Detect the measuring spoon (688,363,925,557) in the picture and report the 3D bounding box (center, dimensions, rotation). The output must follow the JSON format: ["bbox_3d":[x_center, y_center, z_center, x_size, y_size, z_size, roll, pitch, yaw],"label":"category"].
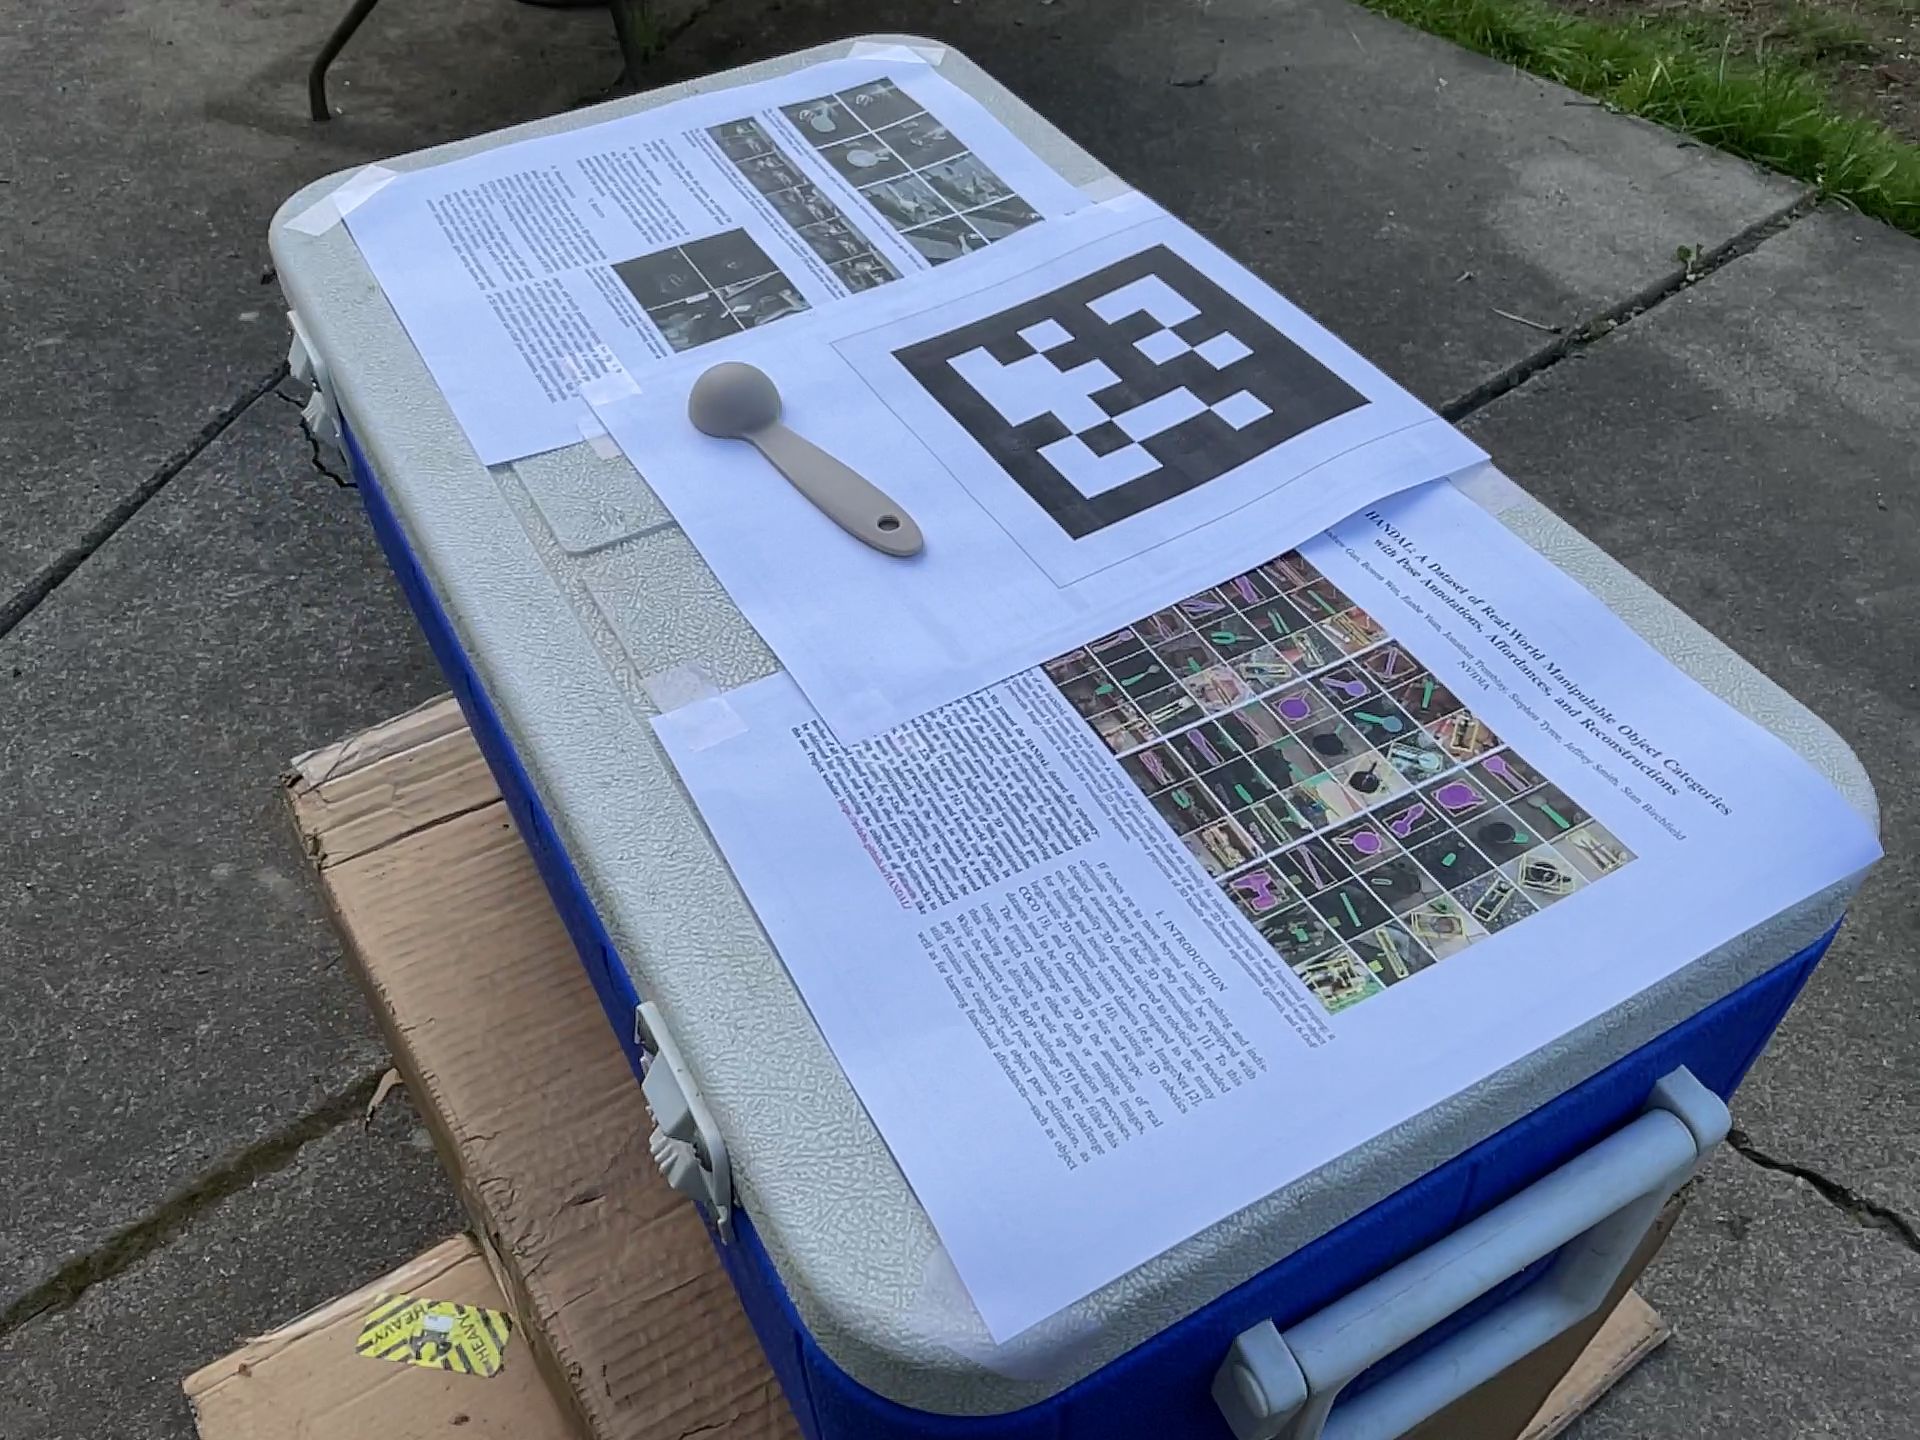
[{"bbox_3d":[-0.053,-0.094,0.553,0.034,0.018,0.124,-32,54,-25],"label":"measuring spoon"}]
